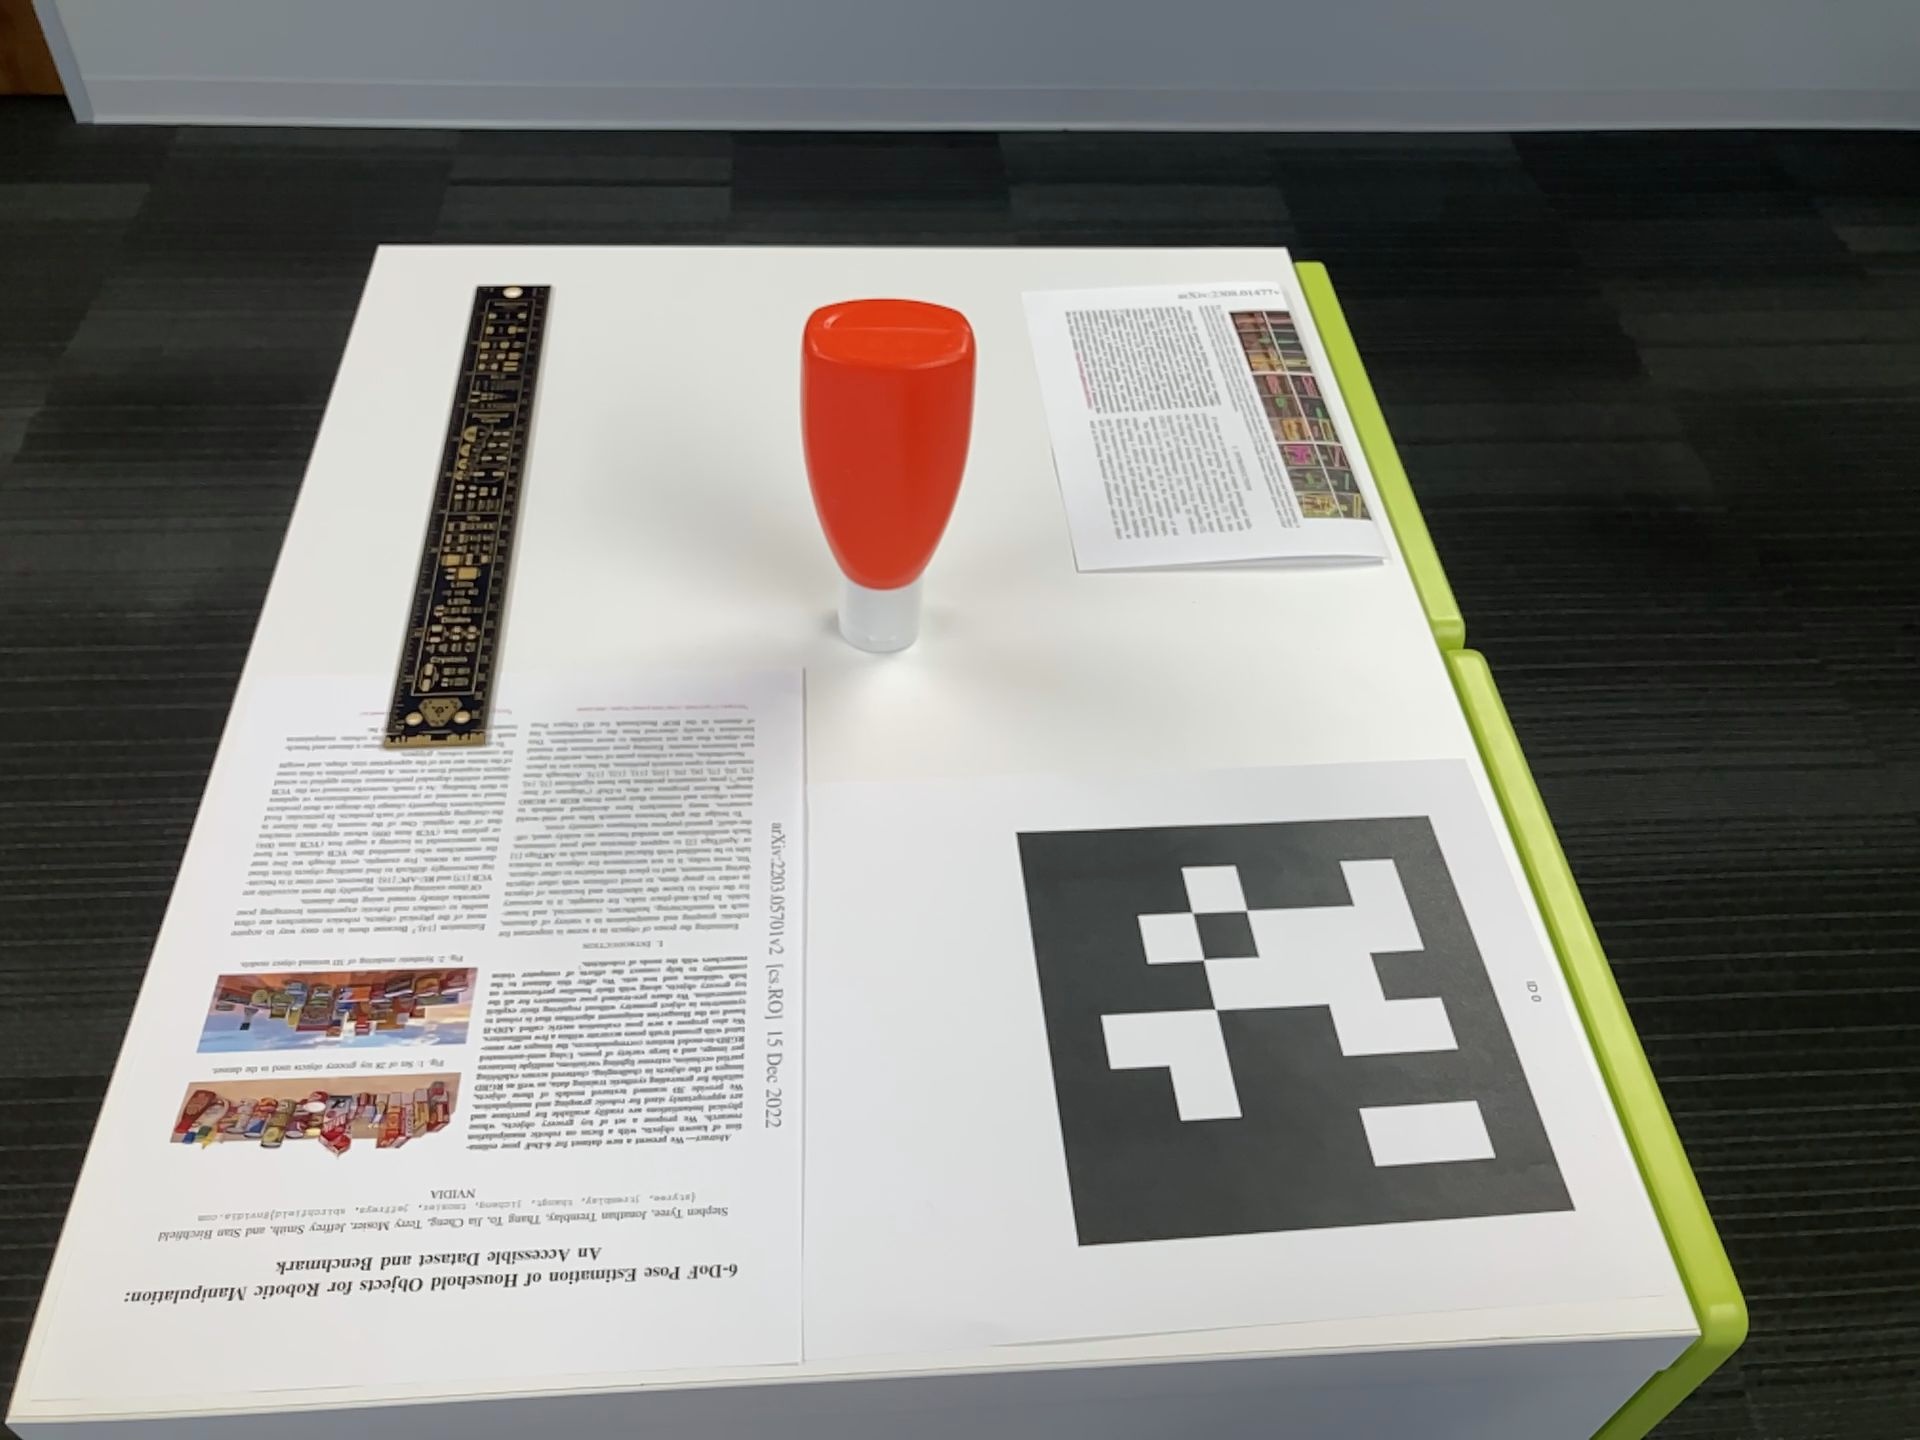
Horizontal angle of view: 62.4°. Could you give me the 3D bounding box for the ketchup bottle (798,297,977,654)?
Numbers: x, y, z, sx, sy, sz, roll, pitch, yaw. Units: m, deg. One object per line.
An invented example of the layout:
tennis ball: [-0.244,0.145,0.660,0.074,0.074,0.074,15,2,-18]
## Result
ketchup bottle: [-0.030,-0.090,0.615,0.065,0.149,0.043,0,48,-5]
